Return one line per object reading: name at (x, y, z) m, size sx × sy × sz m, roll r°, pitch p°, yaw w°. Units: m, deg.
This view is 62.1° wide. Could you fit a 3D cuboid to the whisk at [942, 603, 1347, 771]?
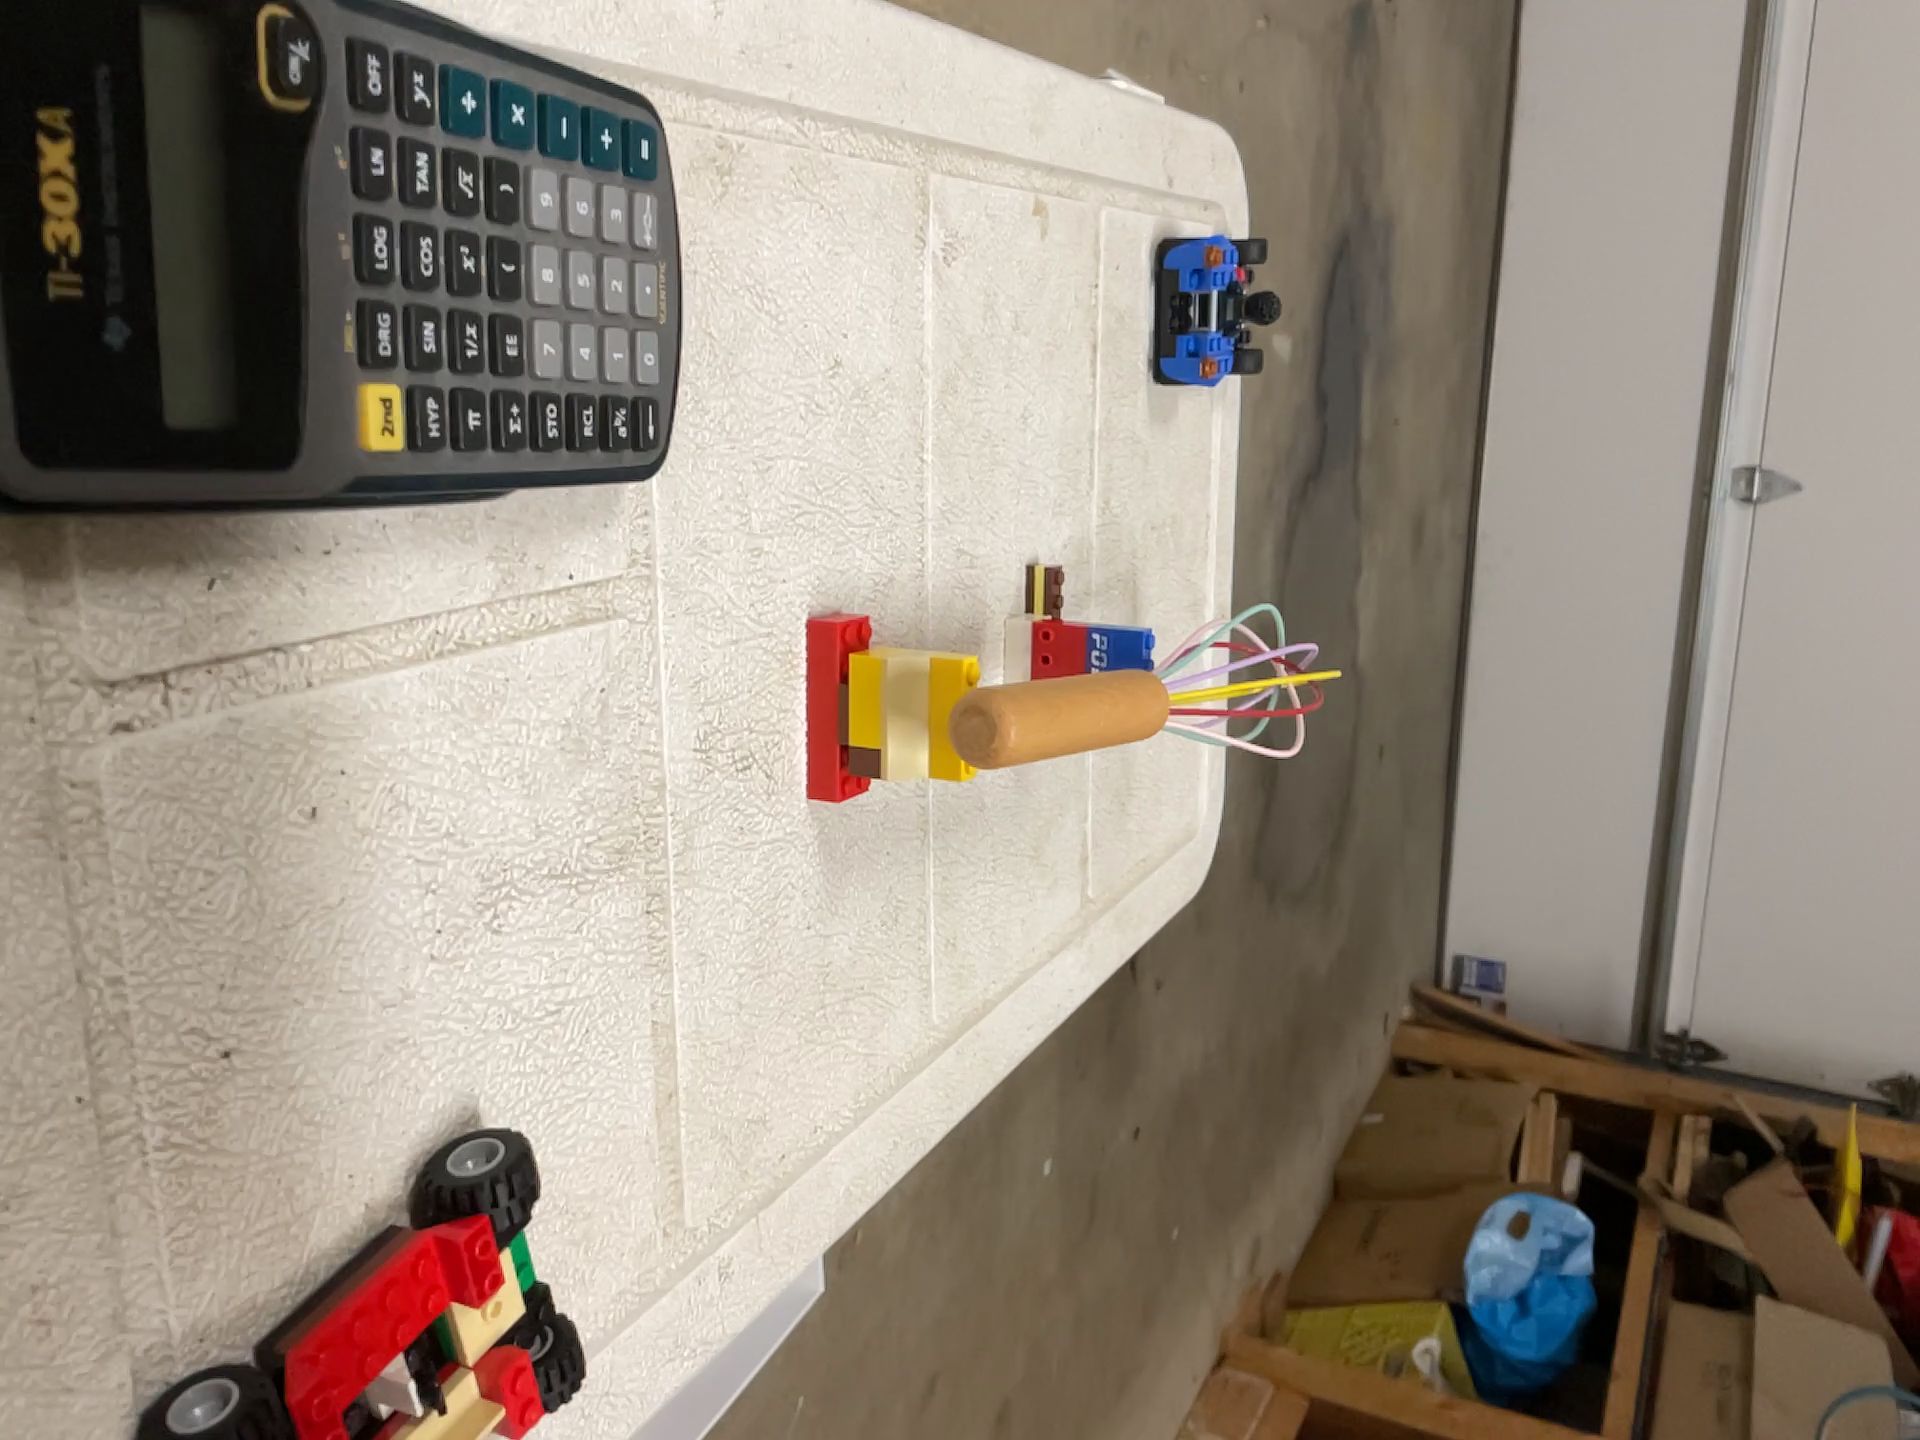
whisk at (0.066, -0.008, 0.487) m, size 0.245 × 0.047 × 0.051 m, roll -8°, pitch 116°, yaw -60°
